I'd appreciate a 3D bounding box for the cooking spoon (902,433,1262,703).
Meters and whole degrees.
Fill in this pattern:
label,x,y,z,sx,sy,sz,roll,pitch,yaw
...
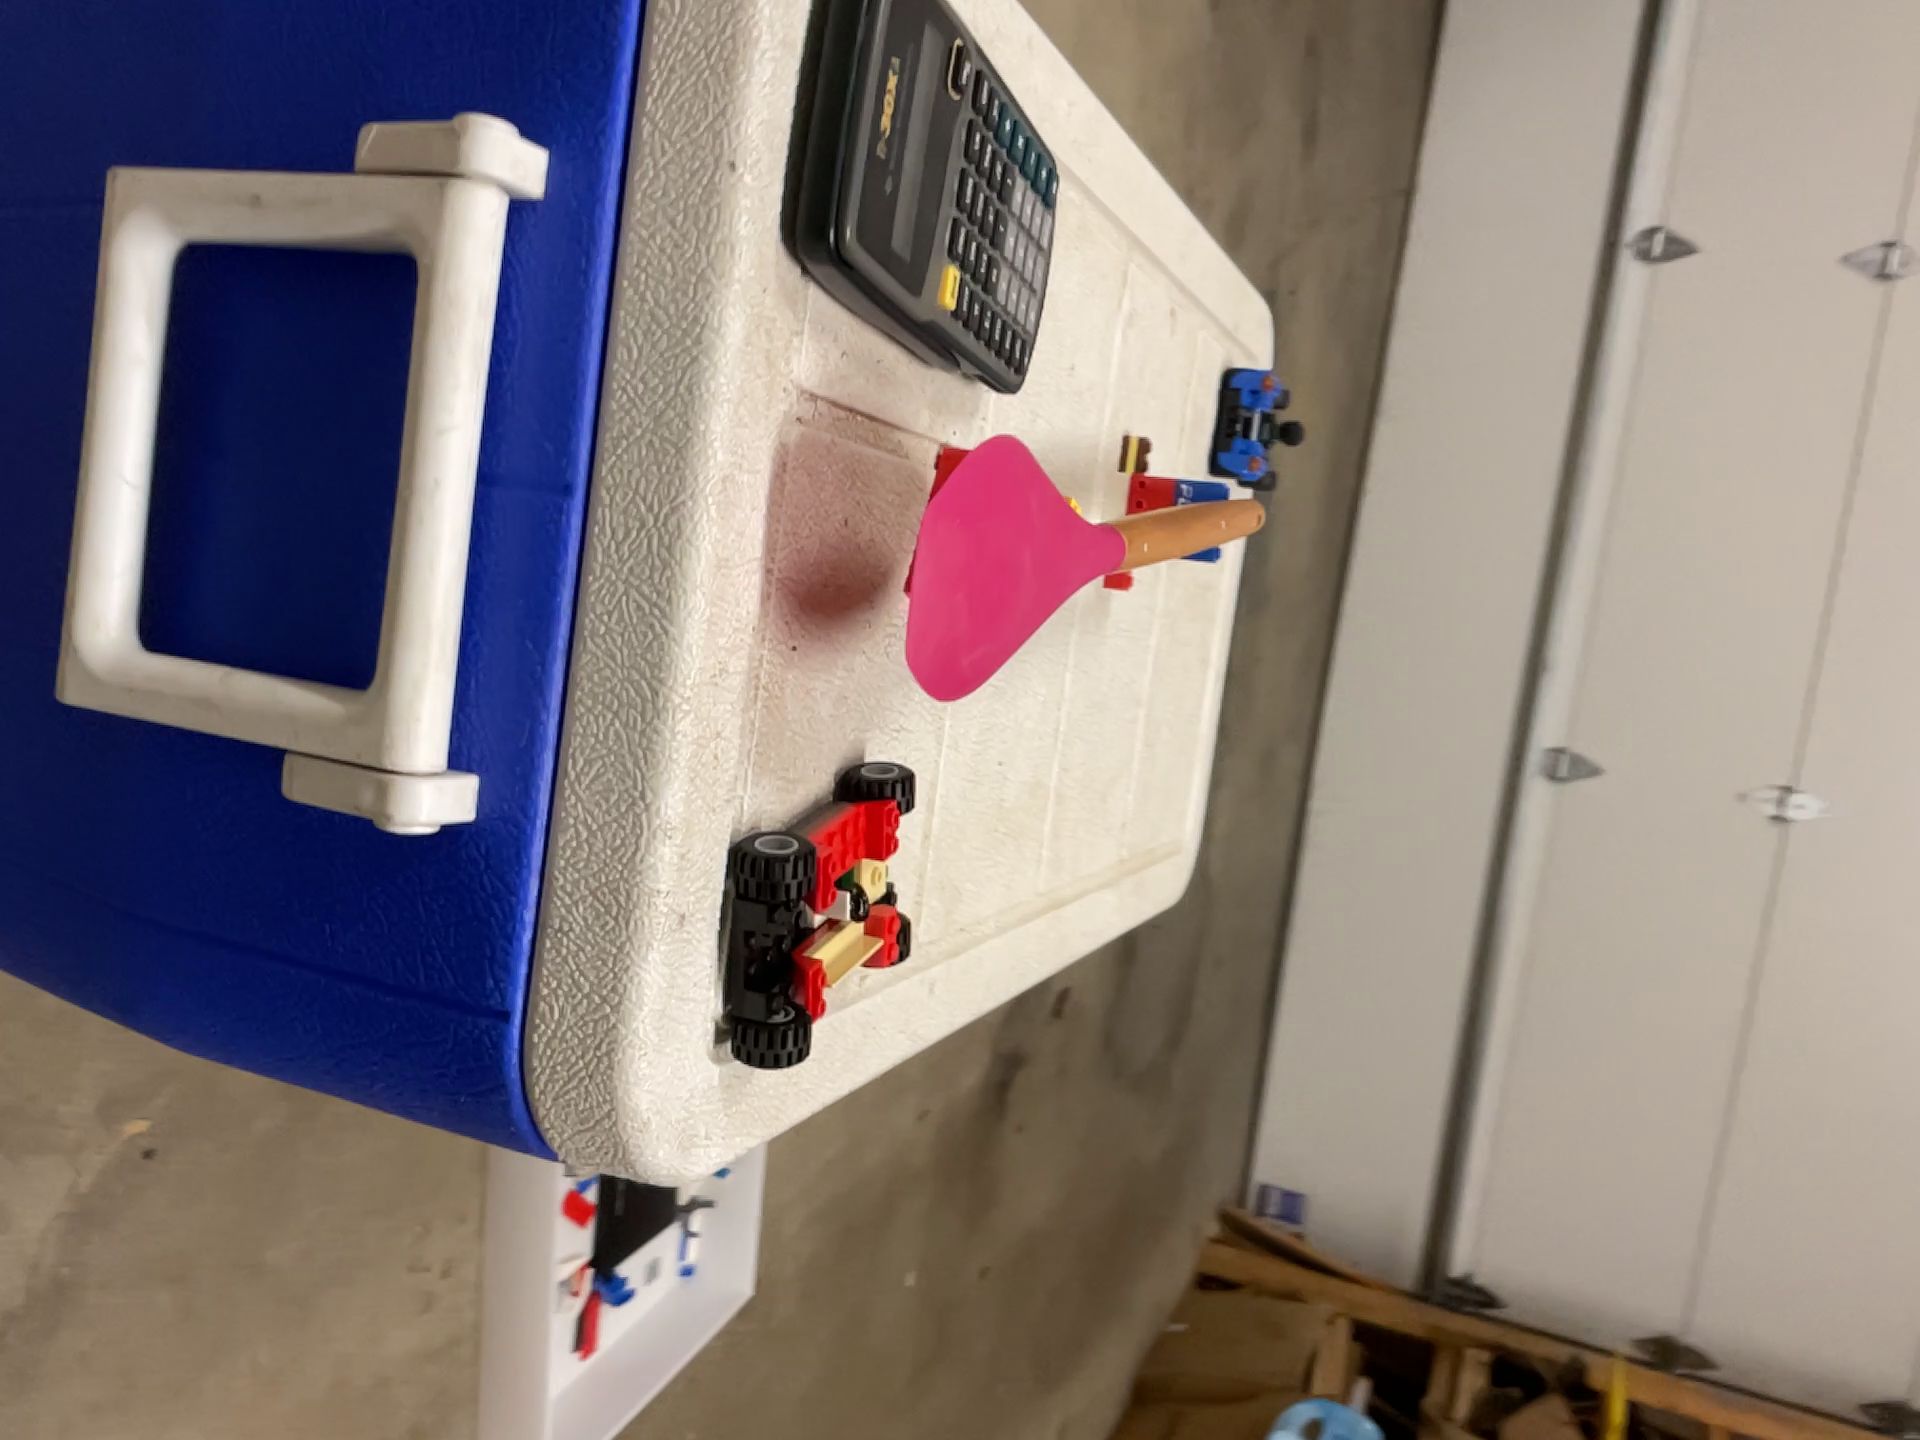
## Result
label,x,y,z,sx,sy,sz,roll,pitch,yaw
cooking spoon,0.053,-0.056,0.505,0.319,0.017,0.068,-23,125,-65
